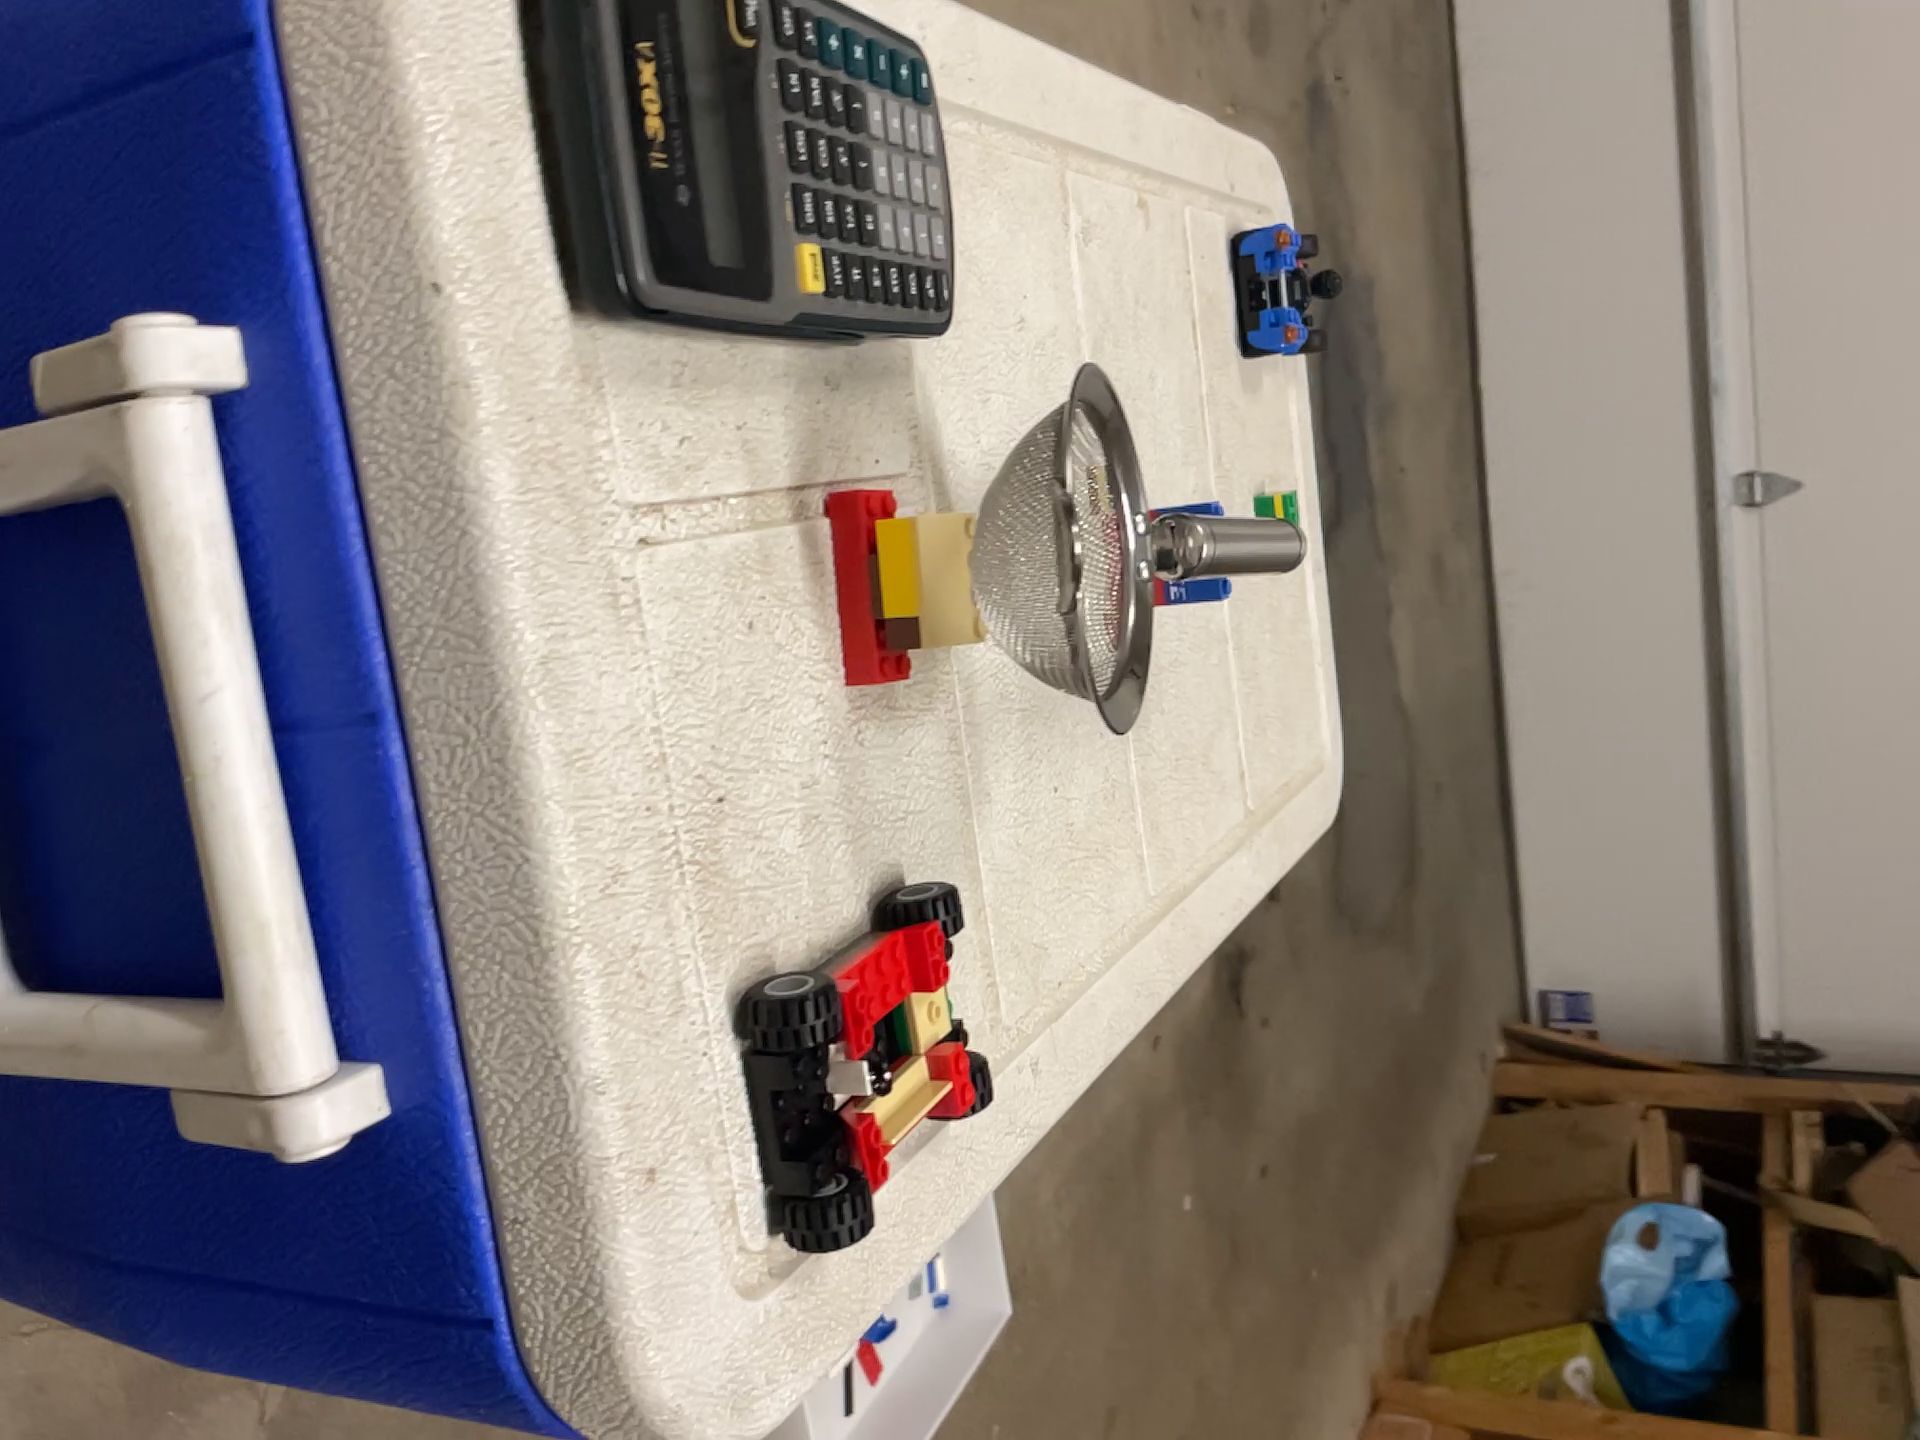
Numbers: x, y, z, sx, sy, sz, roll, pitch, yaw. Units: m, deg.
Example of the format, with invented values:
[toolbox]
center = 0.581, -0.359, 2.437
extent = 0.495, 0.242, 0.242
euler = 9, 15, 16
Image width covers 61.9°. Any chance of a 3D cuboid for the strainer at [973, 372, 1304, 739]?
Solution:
[strainer]
center = 0.057, -0.046, 0.445
extent = 0.258, 0.050, 0.086
euler = -14, 101, -63
